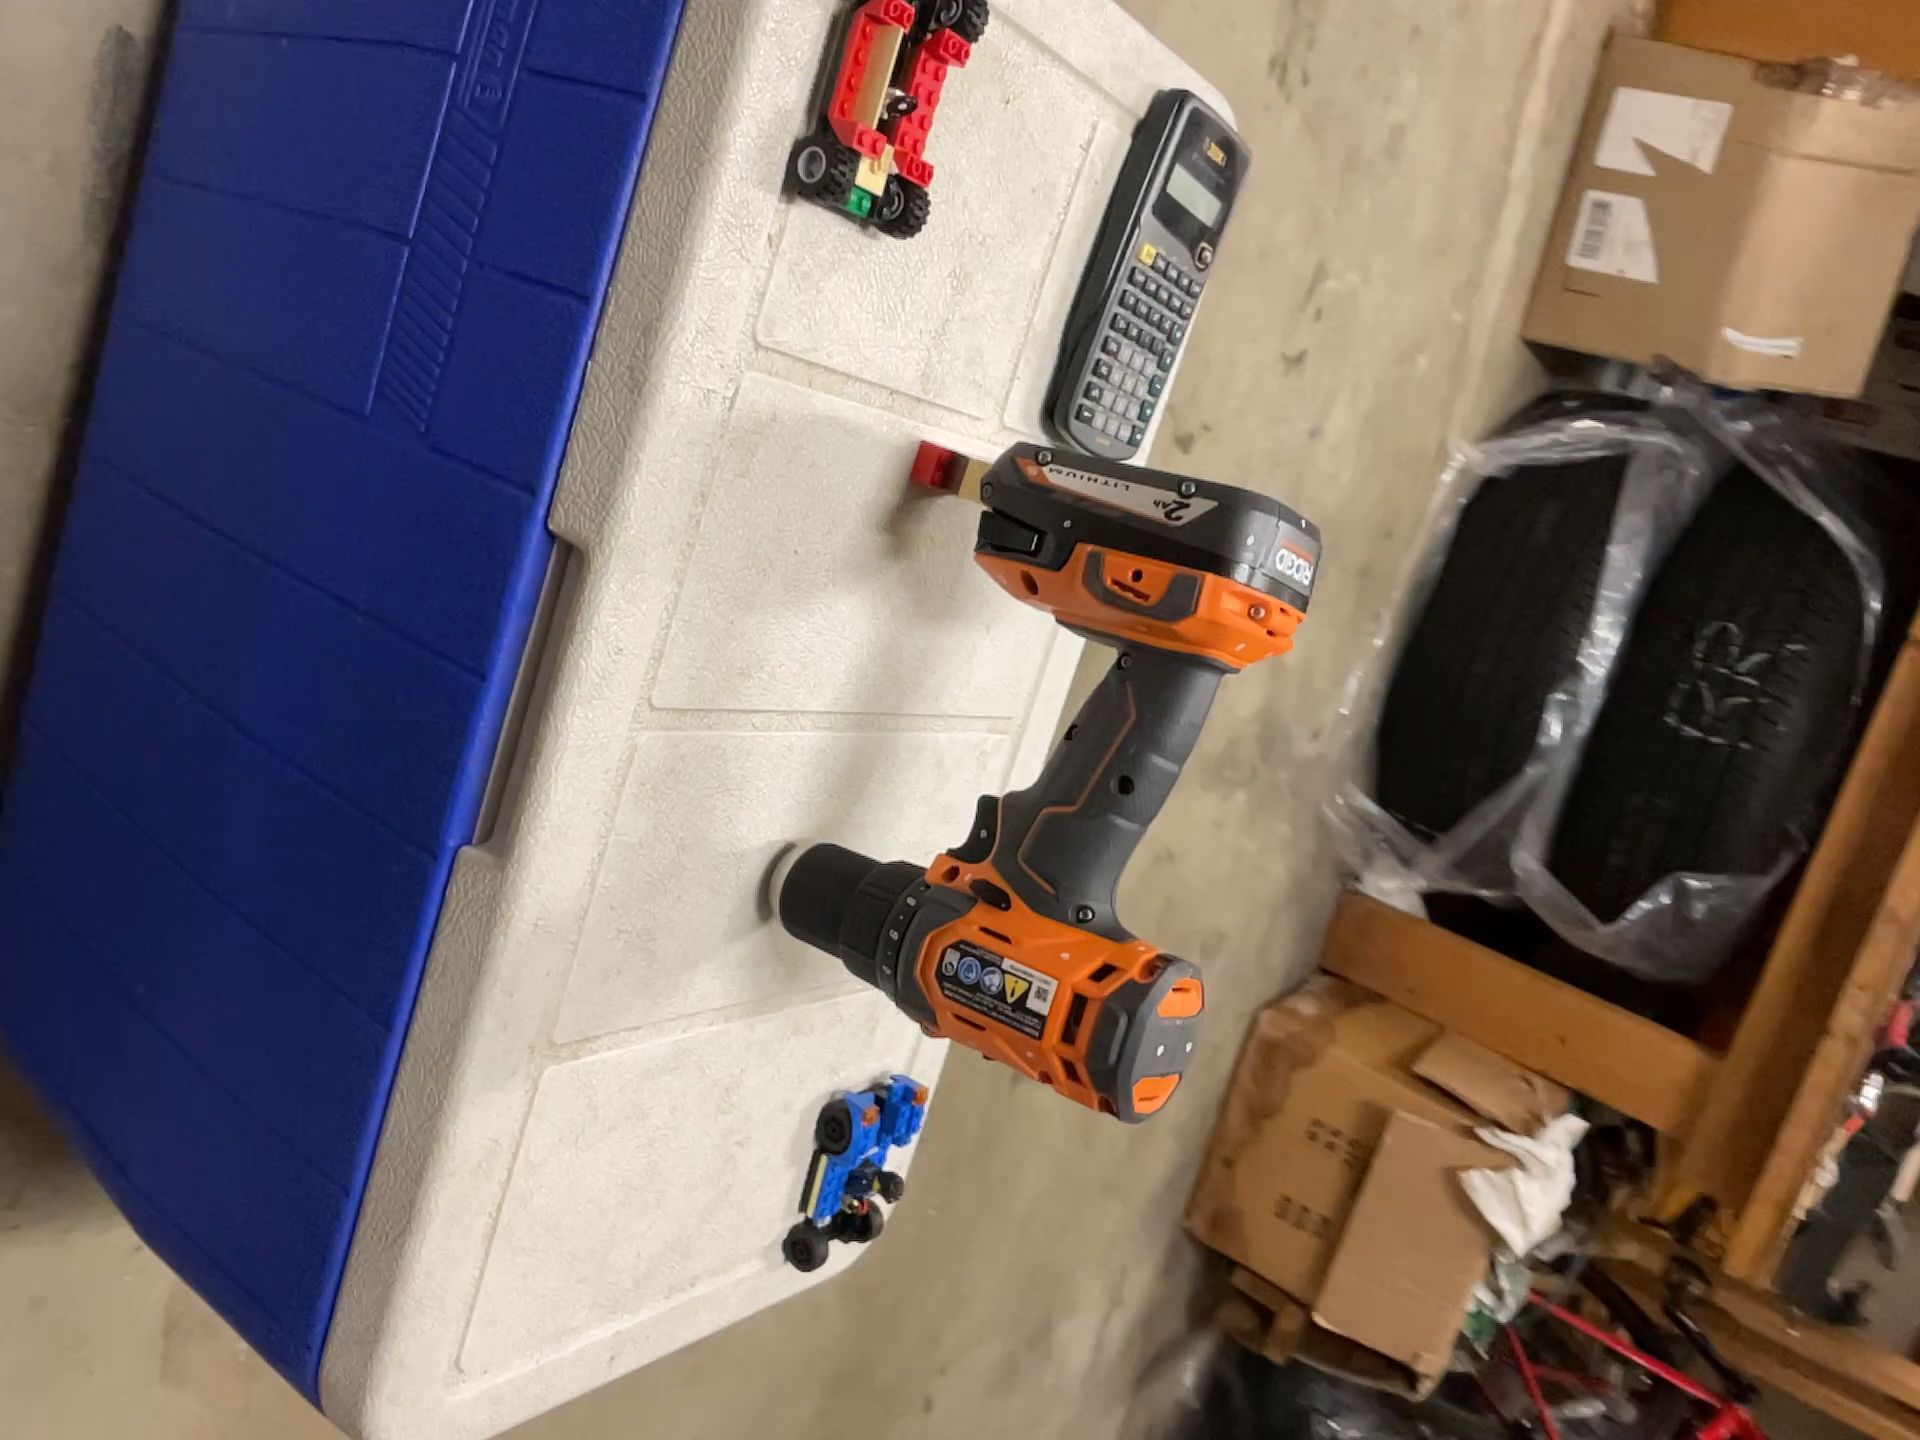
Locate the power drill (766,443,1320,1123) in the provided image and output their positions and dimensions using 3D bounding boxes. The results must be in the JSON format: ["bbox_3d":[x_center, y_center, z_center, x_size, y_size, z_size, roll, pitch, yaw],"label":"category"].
[{"bbox_3d":[0.024,0.015,0.609,0.084,0.185,0.226,13,94,-58],"label":"power drill"}]
